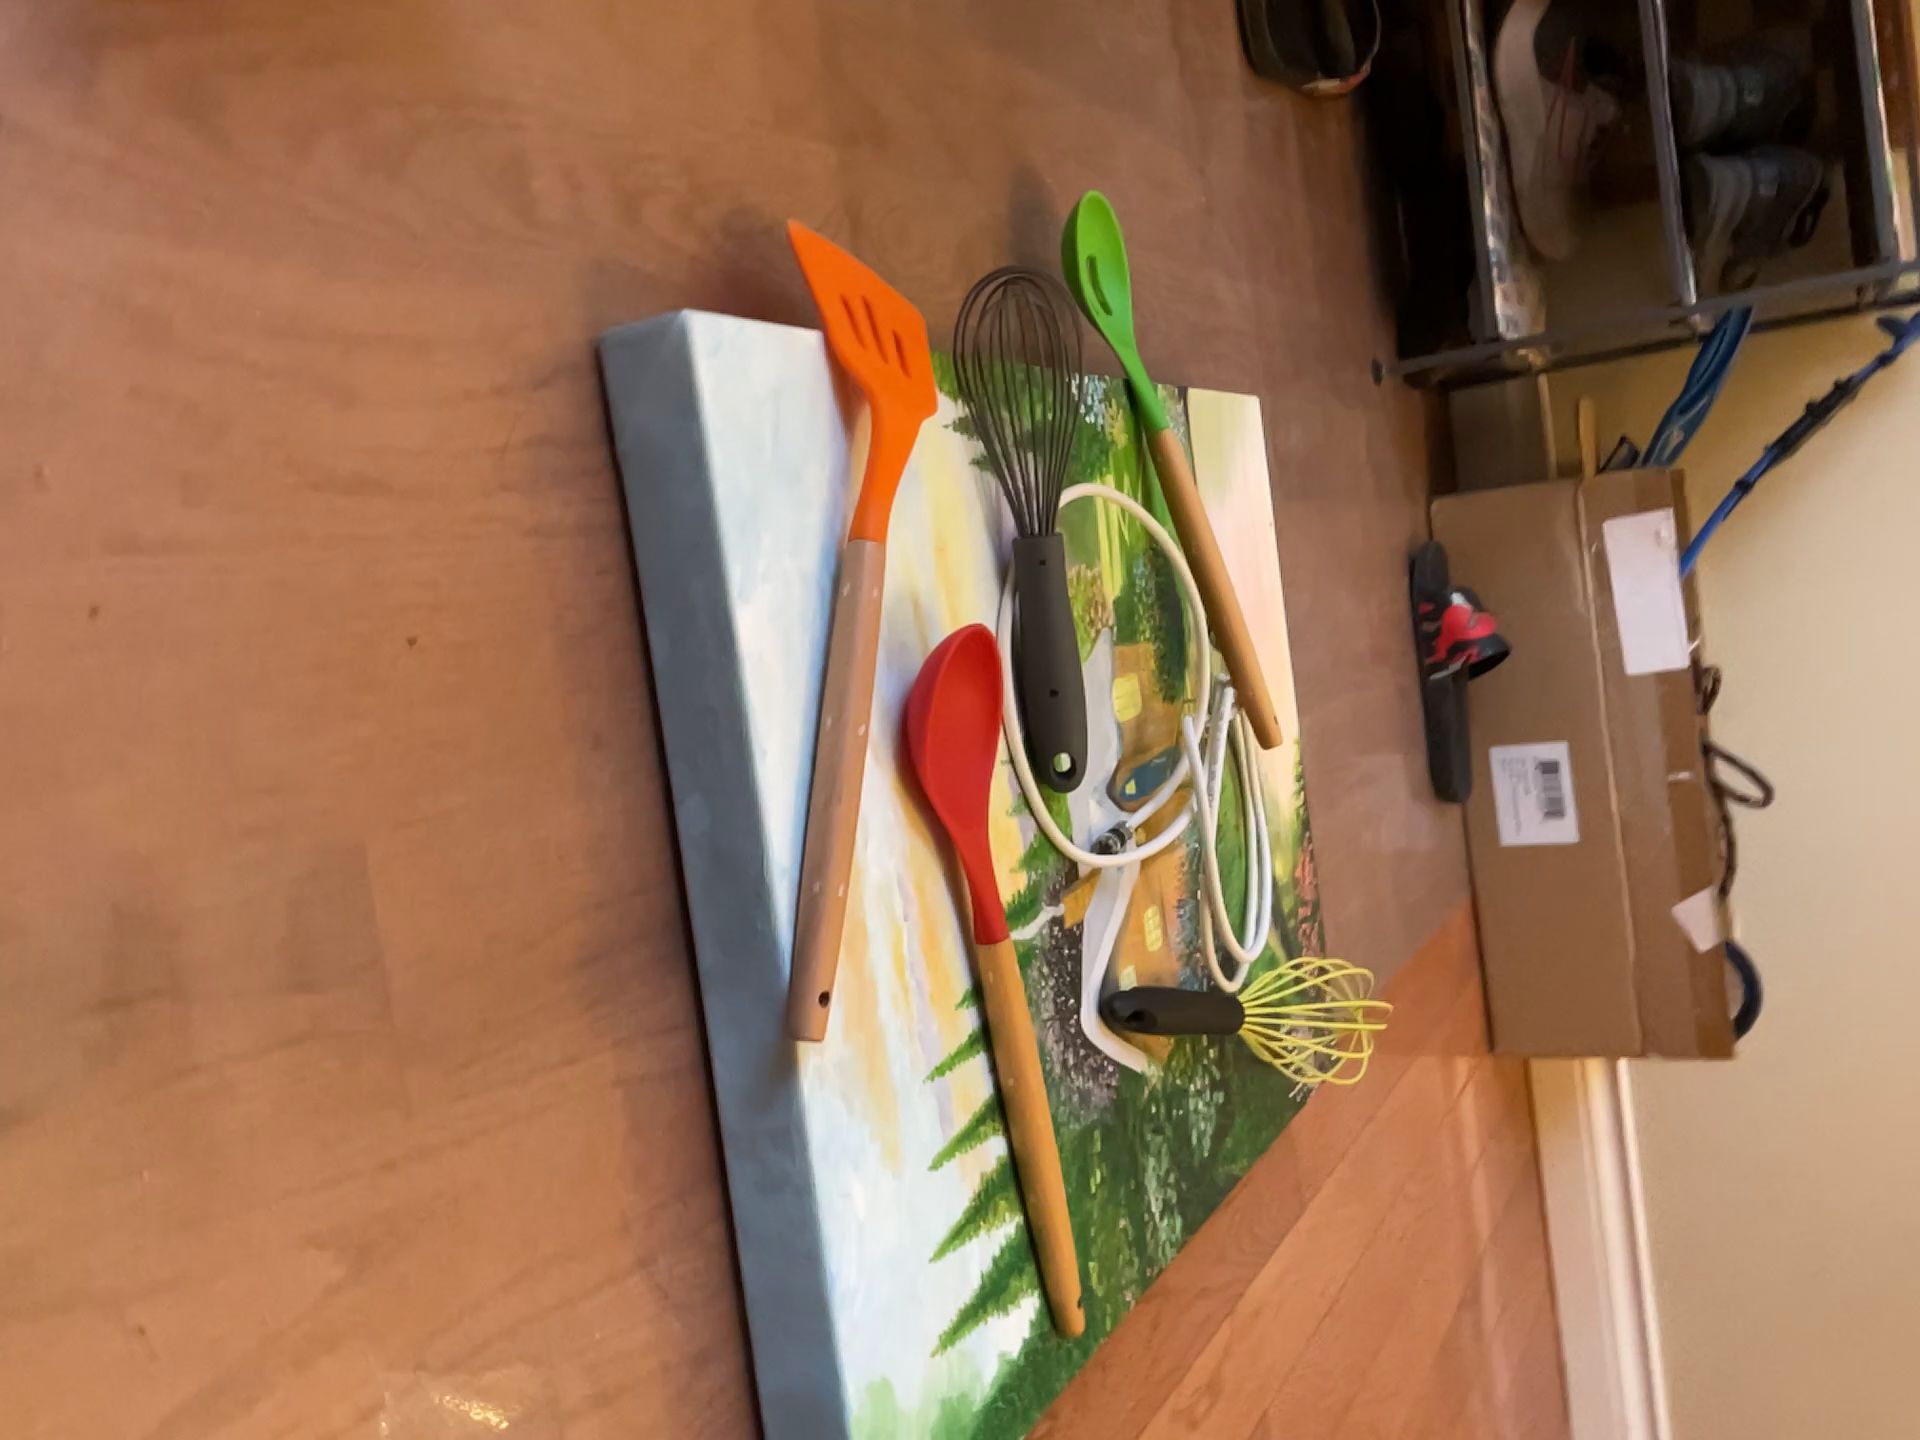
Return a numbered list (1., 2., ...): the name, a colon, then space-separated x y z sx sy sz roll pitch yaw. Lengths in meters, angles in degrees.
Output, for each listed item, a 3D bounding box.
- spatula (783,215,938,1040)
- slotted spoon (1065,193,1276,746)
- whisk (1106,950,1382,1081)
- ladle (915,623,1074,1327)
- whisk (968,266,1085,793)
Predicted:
1. spatula: -0.045 -0.043 0.600 0.080 0.041 0.323 24 65 -45
2. slotted spoon: 0.116 -0.135 0.873 0.070 0.031 0.314 -20 91 -61
3. whisk: 0.162 0.165 0.896 0.311 0.067 0.080 16 66 -53
4. ladle: 0.020 0.115 0.670 0.069 0.031 0.315 -30 114 -58
5. whisk: 0.037 -0.081 0.716 0.055 0.055 0.239 -24 112 -49
